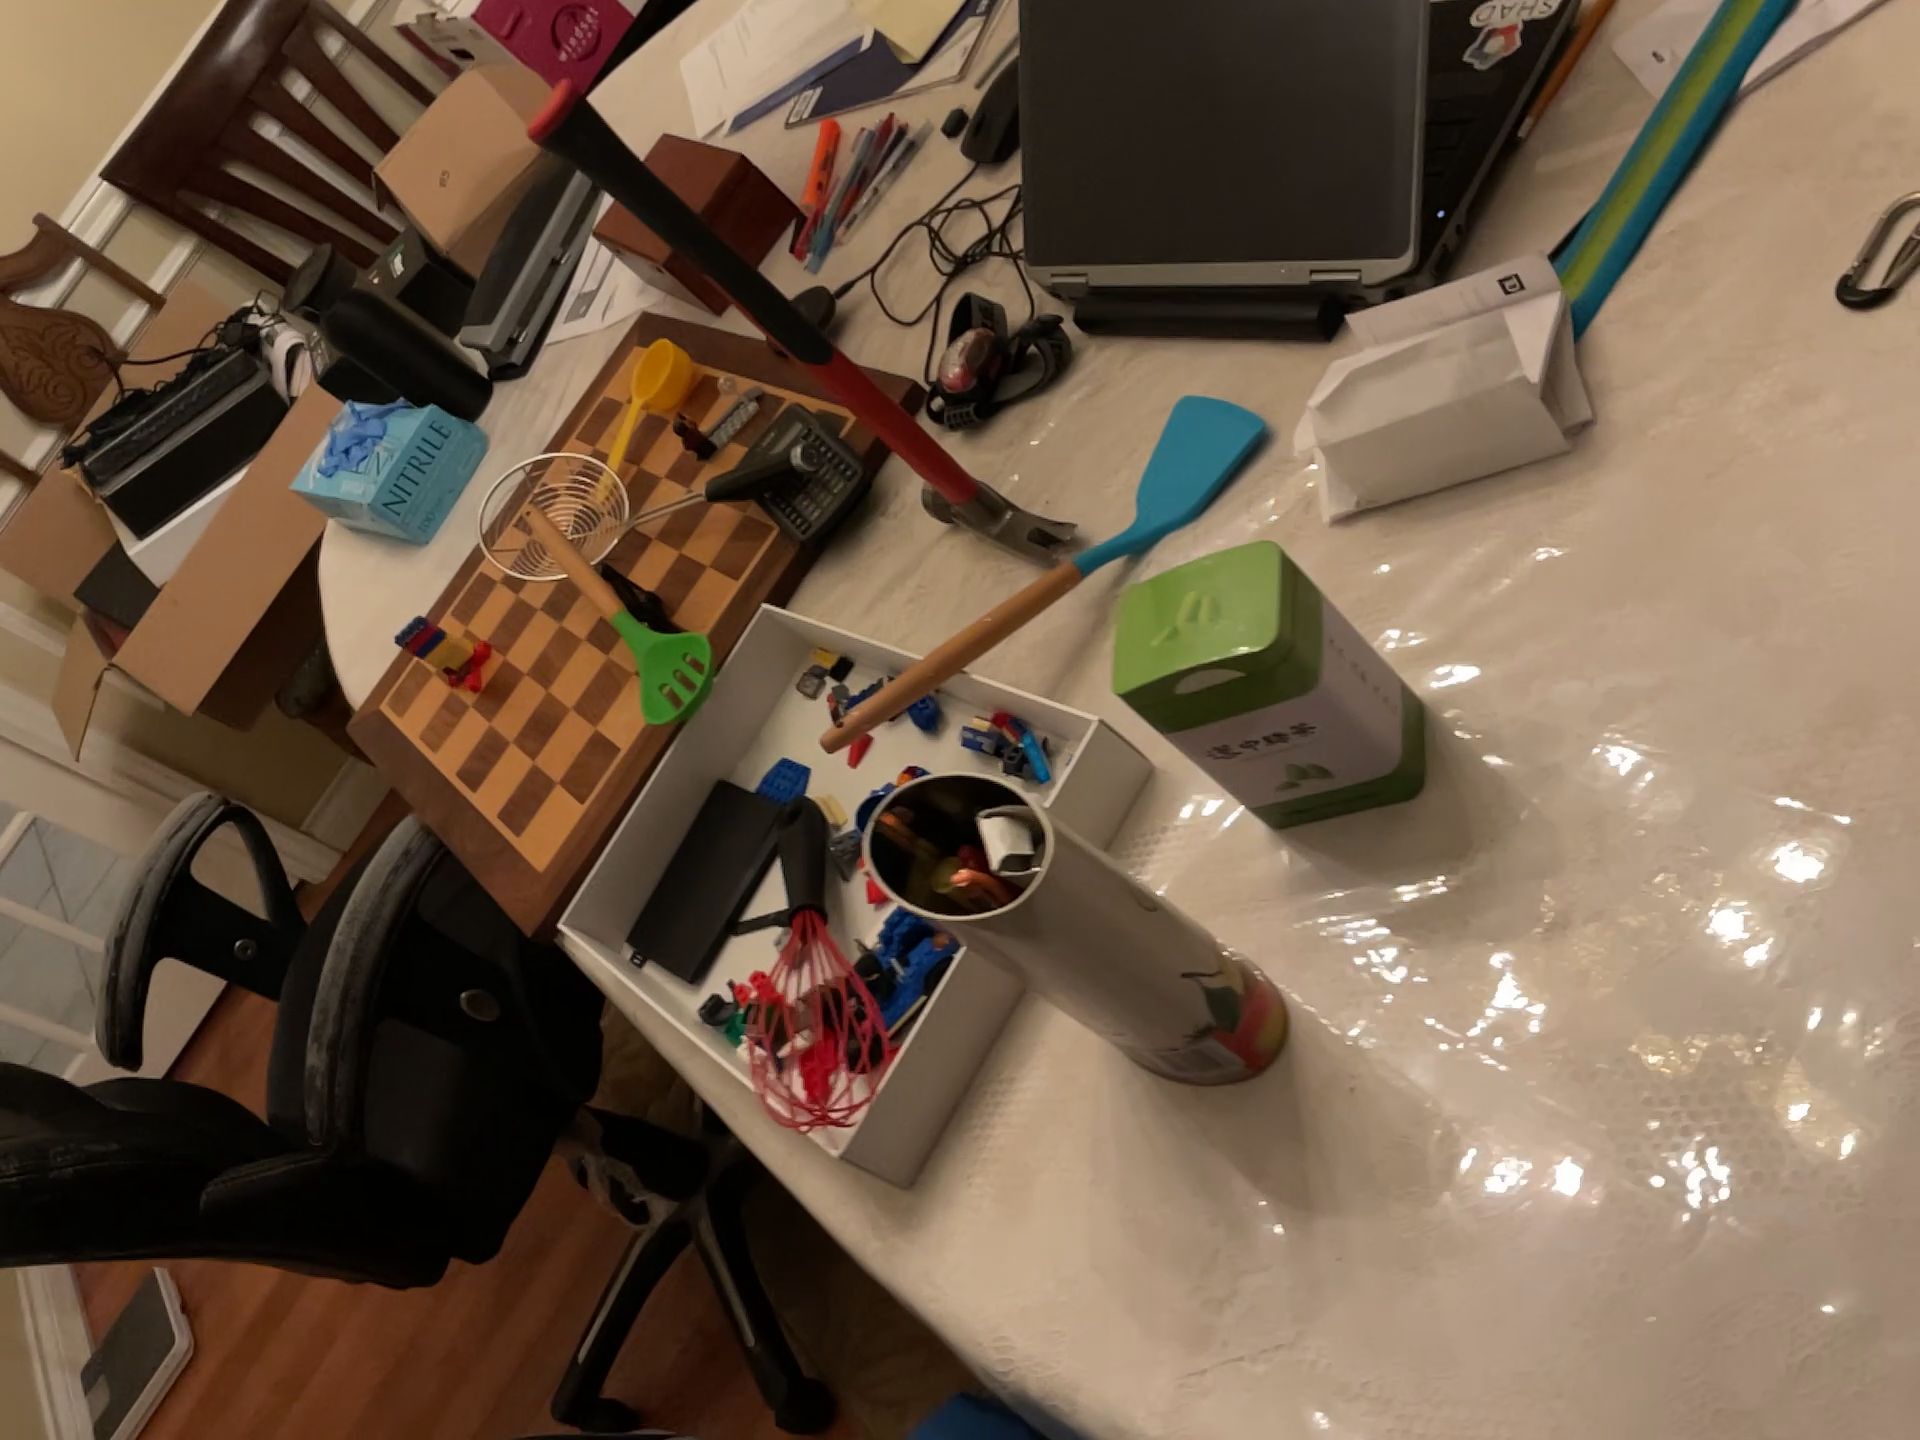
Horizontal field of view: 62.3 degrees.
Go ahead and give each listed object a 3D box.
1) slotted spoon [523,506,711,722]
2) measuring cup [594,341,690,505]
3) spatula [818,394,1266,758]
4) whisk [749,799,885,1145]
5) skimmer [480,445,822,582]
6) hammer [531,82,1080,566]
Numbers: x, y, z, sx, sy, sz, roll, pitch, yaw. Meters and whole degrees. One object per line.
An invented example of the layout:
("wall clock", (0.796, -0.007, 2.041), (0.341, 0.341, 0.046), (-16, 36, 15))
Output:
("slotted spoon", (-0.258, -0.087, 1.164), (0.070, 0.031, 0.314), (-51, 47, 5))
("measuring cup", (-0.283, -0.259, 1.410), (0.062, 0.029, 0.156), (27, 94, 48))
("spatula", (0.043, -0.081, 0.922), (0.317, 0.044, 0.083), (-37, 38, -14))
("whisk", (-0.084, 0.127, 0.897), (0.073, 0.073, 0.296), (-24, 29, 6))
("skimmer", (-0.251, -0.182, 1.251), (0.364, 0.090, 0.127), (-8, 54, 46))
("hammer", (-0.082, -0.216, 0.920), (0.038, 0.385, 0.143), (-55, 38, -3))
